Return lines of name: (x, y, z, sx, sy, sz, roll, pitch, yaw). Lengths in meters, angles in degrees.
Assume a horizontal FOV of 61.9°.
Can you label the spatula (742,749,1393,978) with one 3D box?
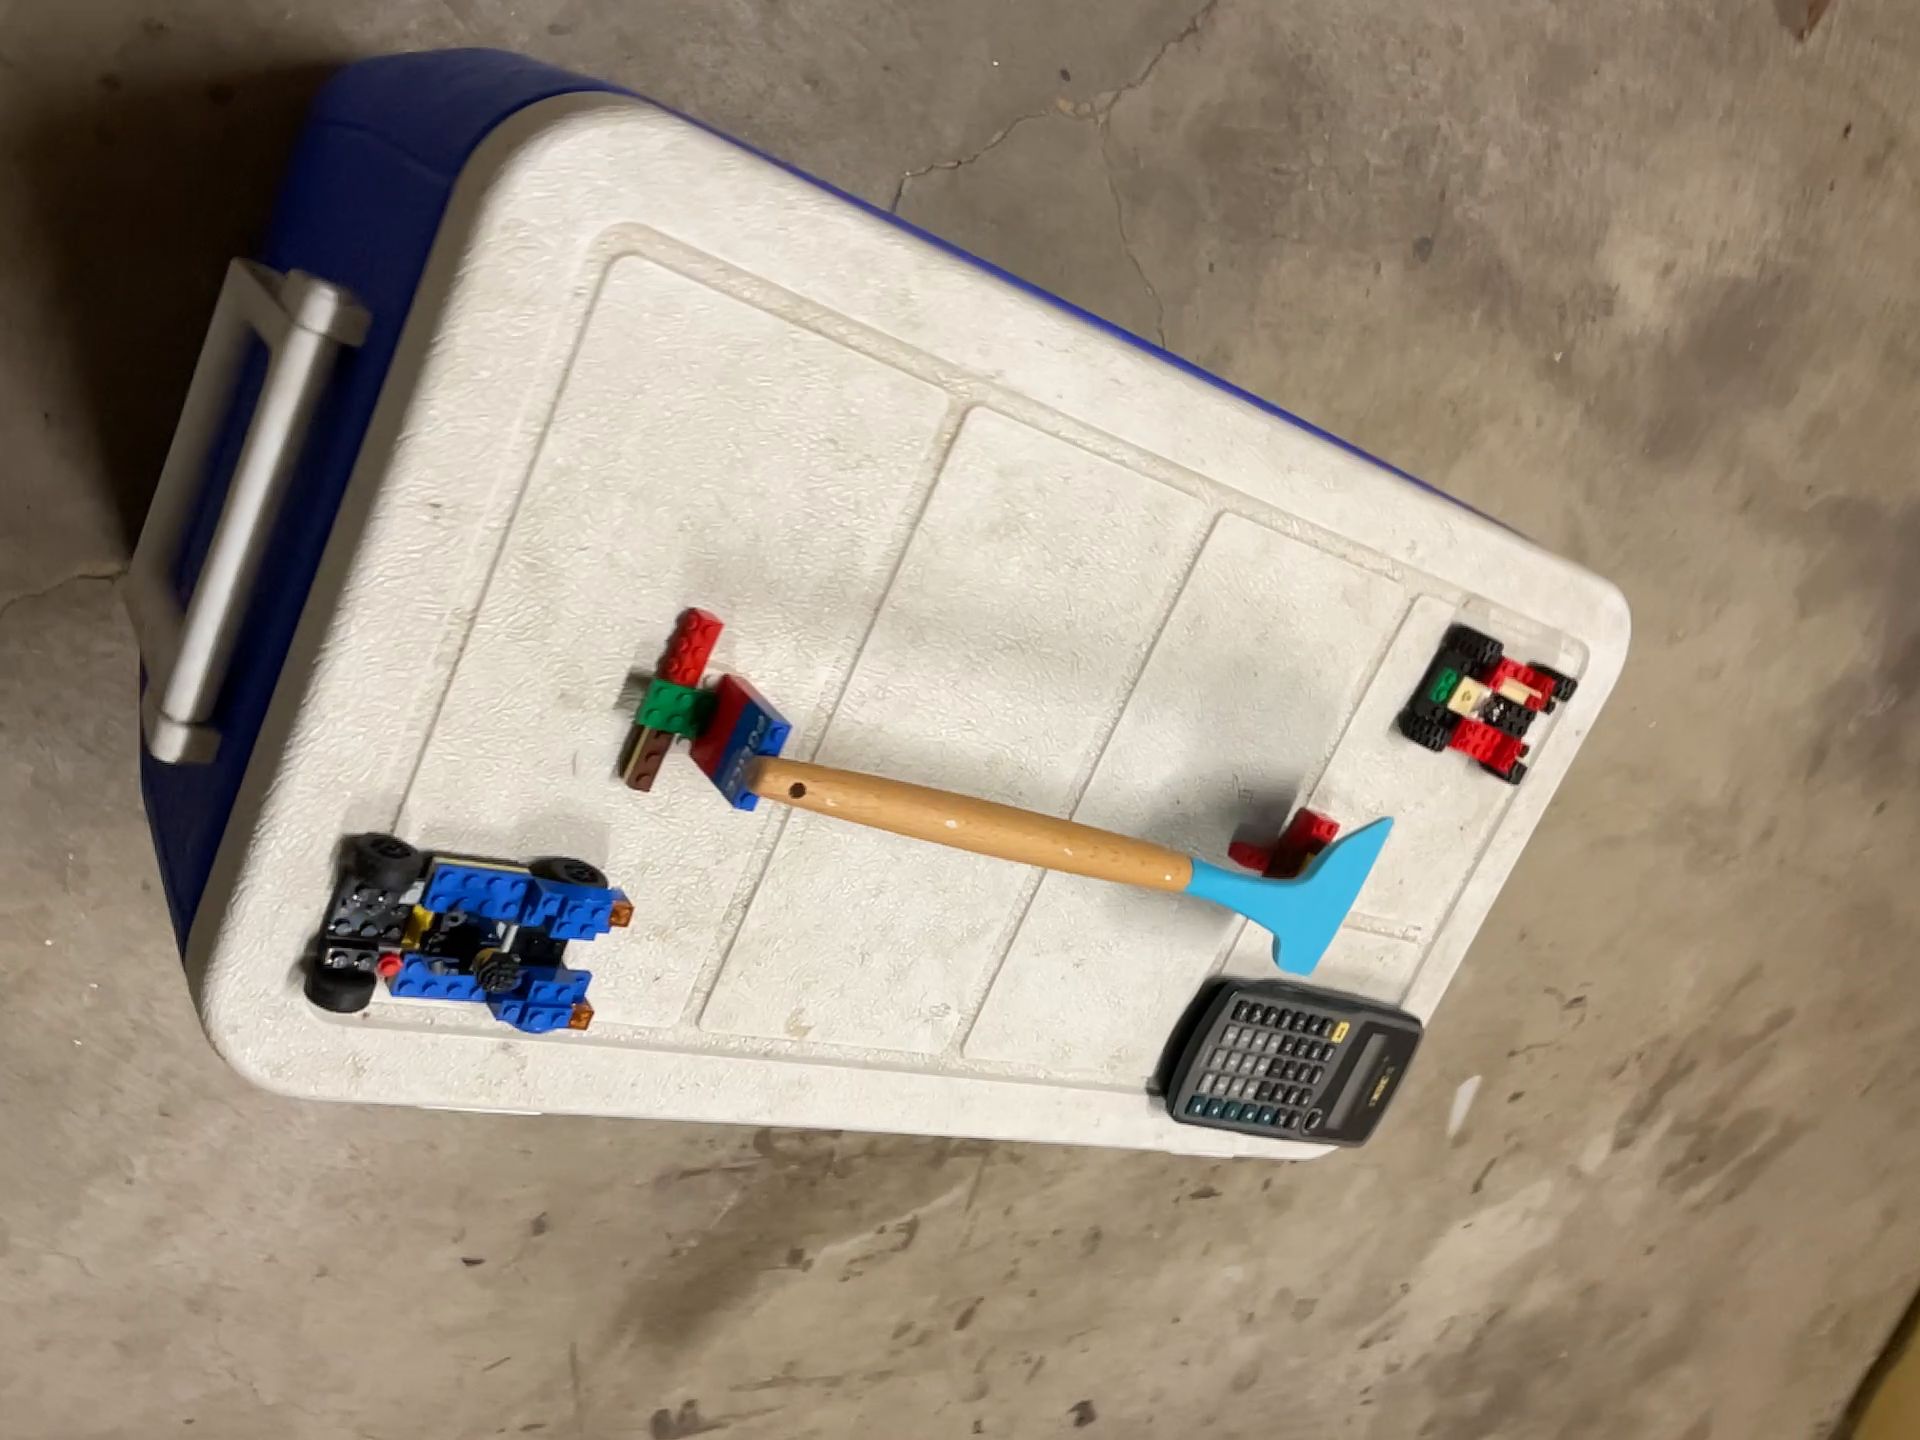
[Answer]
spatula: (0.056, 0.048, 0.595, 0.318, 0.044, 0.082, 16, 105, -34)
